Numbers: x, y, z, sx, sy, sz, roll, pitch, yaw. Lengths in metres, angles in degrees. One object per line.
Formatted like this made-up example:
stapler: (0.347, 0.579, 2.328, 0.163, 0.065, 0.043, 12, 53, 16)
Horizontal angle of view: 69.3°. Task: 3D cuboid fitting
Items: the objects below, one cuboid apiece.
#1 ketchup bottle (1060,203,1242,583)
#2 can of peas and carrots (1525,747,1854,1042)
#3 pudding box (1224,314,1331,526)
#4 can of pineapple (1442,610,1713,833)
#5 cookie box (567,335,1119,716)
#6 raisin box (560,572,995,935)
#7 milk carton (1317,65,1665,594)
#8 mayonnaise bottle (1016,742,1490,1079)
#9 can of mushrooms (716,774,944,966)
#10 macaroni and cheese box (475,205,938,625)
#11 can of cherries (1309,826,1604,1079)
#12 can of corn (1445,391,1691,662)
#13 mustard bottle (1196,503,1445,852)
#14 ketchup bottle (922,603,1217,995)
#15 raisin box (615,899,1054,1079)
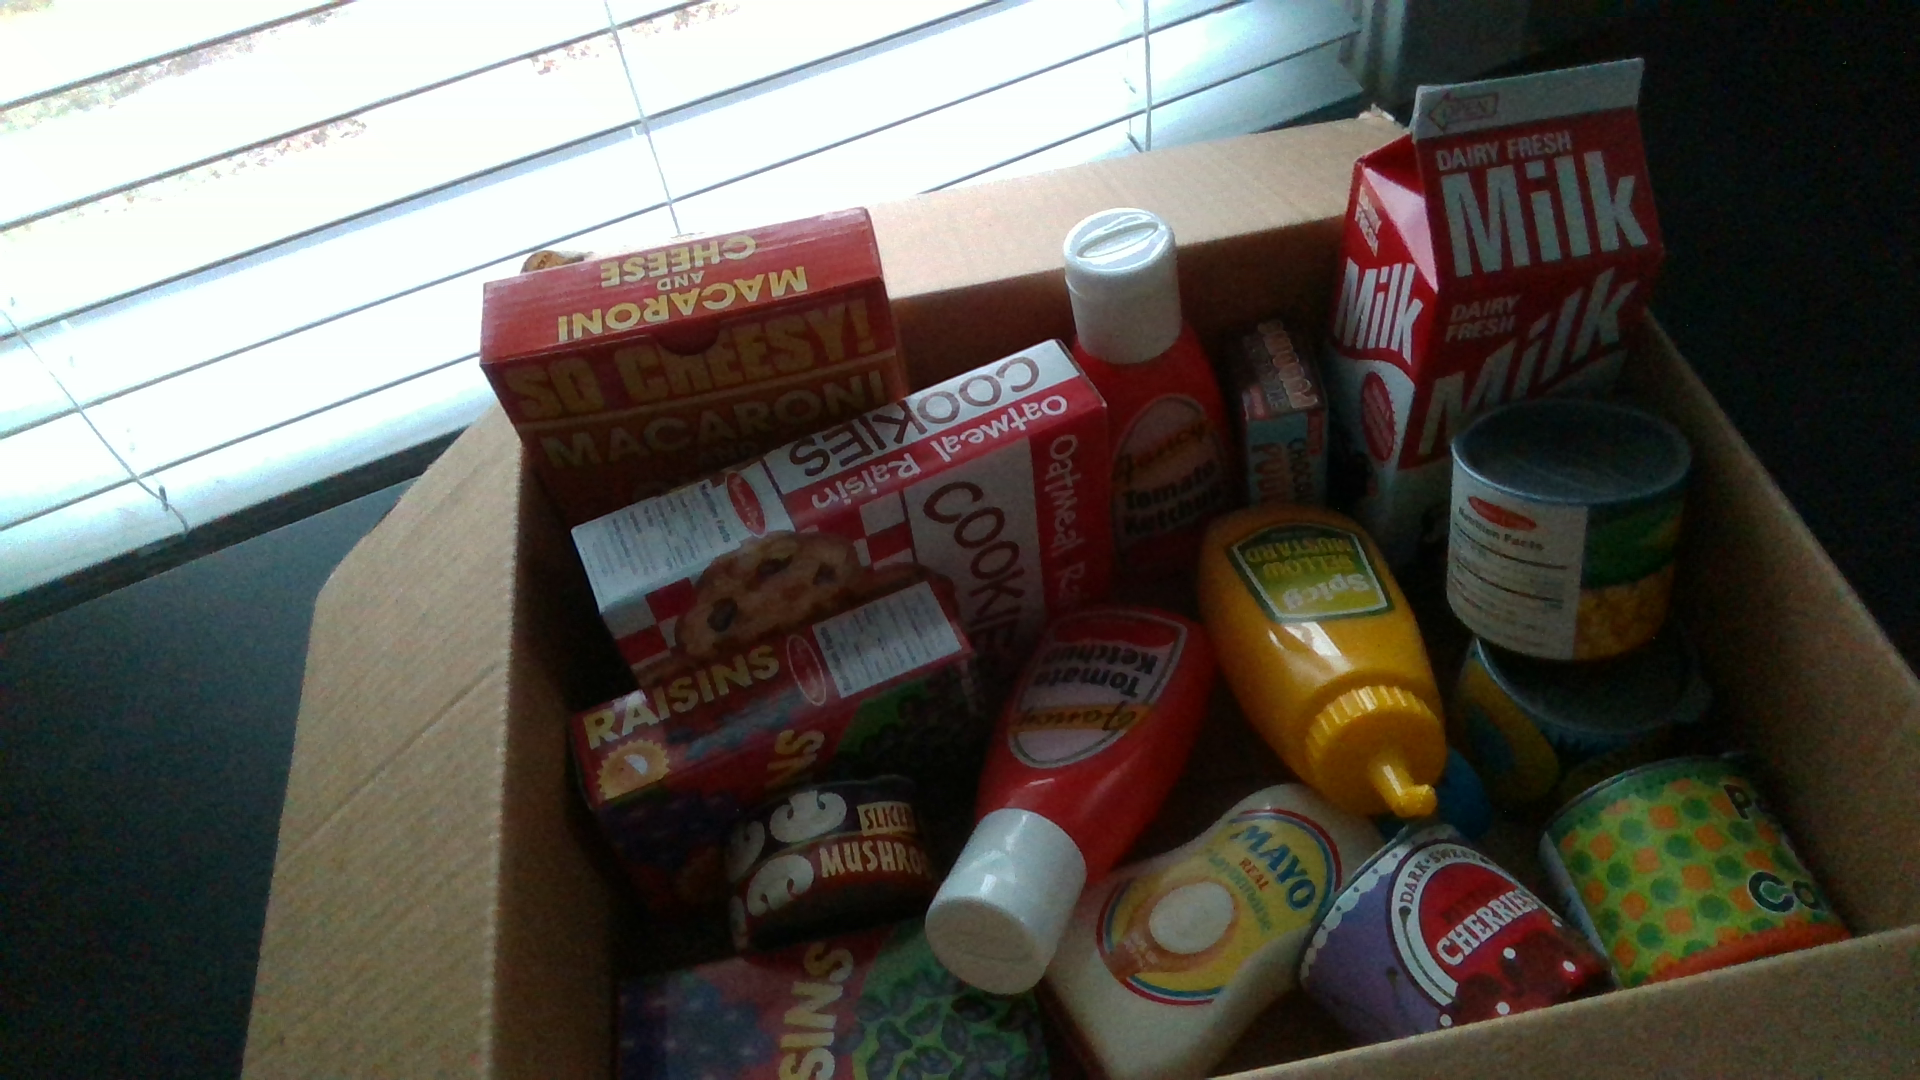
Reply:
ketchup bottle: (0.063, -0.048, 0.487, 0.065, 0.148, 0.044, -23, 48, -4)
can of peas and carrots: (0.210, 0.102, 0.400, 0.071, 0.070, 0.059, -12, 51, -3)
pudding box: (0.116, -0.036, 0.513, 0.030, 0.083, 0.050, -9, 51, 4)
can of pineapple: (0.196, 0.054, 0.449, 0.071, 0.057, 0.071, -2, 45, 2)
cookie box: (-0.029, 0.013, 0.467, 0.168, 0.122, 0.040, -23, 52, -11)
raisin box: (-0.053, 0.071, 0.447, 0.123, 0.085, 0.040, -21, 51, -10)
milk carton: (0.170, -0.069, 0.467, 0.072, 0.189, 0.074, -10, 50, -4)
mayonnaise bottle: (0.093, 0.108, 0.424, 0.148, 0.041, 0.065, -28, 49, -16)
can of mushrooms: (-0.038, 0.104, 0.427, 0.071, 0.070, 0.033, -14, 51, -5)
macaroni and cheese box: (-0.077, -0.028, 0.479, 0.124, 0.165, 0.040, -12, 54, -3)
can of cherries: (0.149, 0.129, 0.419, 0.072, 0.071, 0.058, -31, 50, -18)
can of corn: (0.187, -0.006, 0.429, 0.071, 0.058, 0.071, -7, 33, 5)
mustard bottle: (0.119, 0.041, 0.443, 0.065, 0.048, 0.161, -7, 28, -1)
ketchup bottle: (0.034, 0.075, 0.433, 0.065, 0.043, 0.149, 2, 29, 24)
raisin box: (-0.034, 0.159, 0.398, 0.123, 0.039, 0.086, -11, 47, -1)
